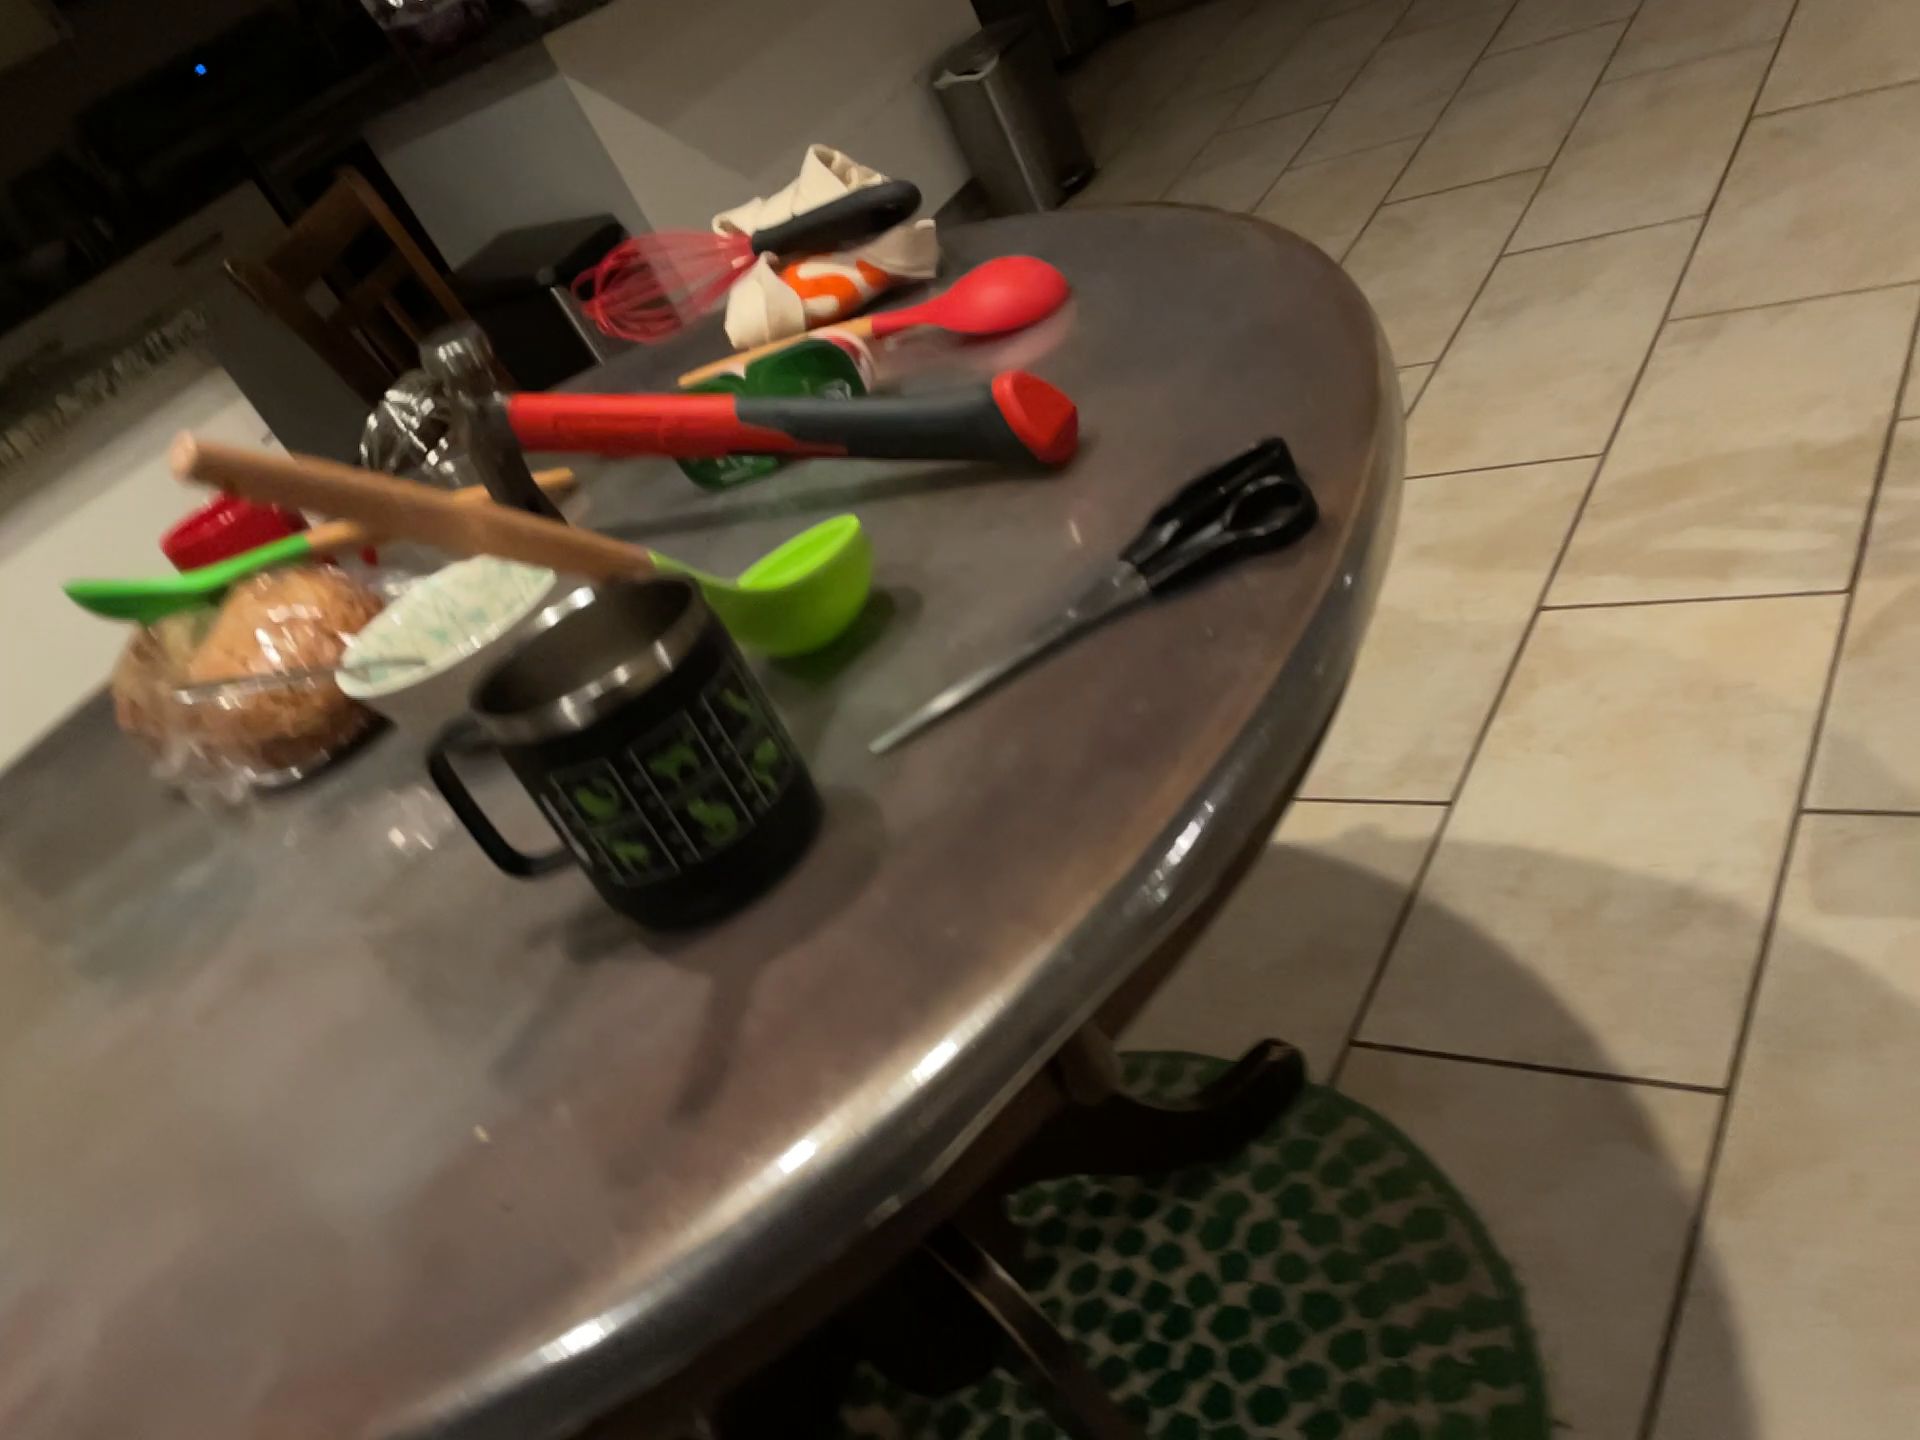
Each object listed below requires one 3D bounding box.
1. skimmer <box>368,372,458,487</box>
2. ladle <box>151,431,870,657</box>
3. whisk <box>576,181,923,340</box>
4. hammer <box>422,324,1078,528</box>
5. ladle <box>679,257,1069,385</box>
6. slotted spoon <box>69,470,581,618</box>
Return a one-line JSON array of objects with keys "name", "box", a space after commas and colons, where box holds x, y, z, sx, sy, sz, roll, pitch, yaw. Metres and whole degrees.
[{"name": "skimmer", "box": [-0.290, -0.194, 1.112, 0.364, 0.090, 0.127, 11, 56, 35]}, {"name": "ladle", "box": [-0.140, -0.070, 0.576, 0.078, 0.319, 0.062, -26, 71, 27]}, {"name": "whisk", "box": [-0.149, -0.318, 1.083, 0.296, 0.073, 0.073, -7, 35, 33]}, {"name": "hammer", "box": [-0.113, -0.140, 0.833, 0.387, 0.143, 0.038, 7, 46, 30]}, {"name": "ladle", "box": [-0.069, -0.241, 0.997, 0.316, 0.031, 0.069, -5, 37, 39]}, {"name": "slotted spoon", "box": [-0.358, -0.109, 0.941, 0.070, 0.031, 0.313, 10, 26, 43]}]
